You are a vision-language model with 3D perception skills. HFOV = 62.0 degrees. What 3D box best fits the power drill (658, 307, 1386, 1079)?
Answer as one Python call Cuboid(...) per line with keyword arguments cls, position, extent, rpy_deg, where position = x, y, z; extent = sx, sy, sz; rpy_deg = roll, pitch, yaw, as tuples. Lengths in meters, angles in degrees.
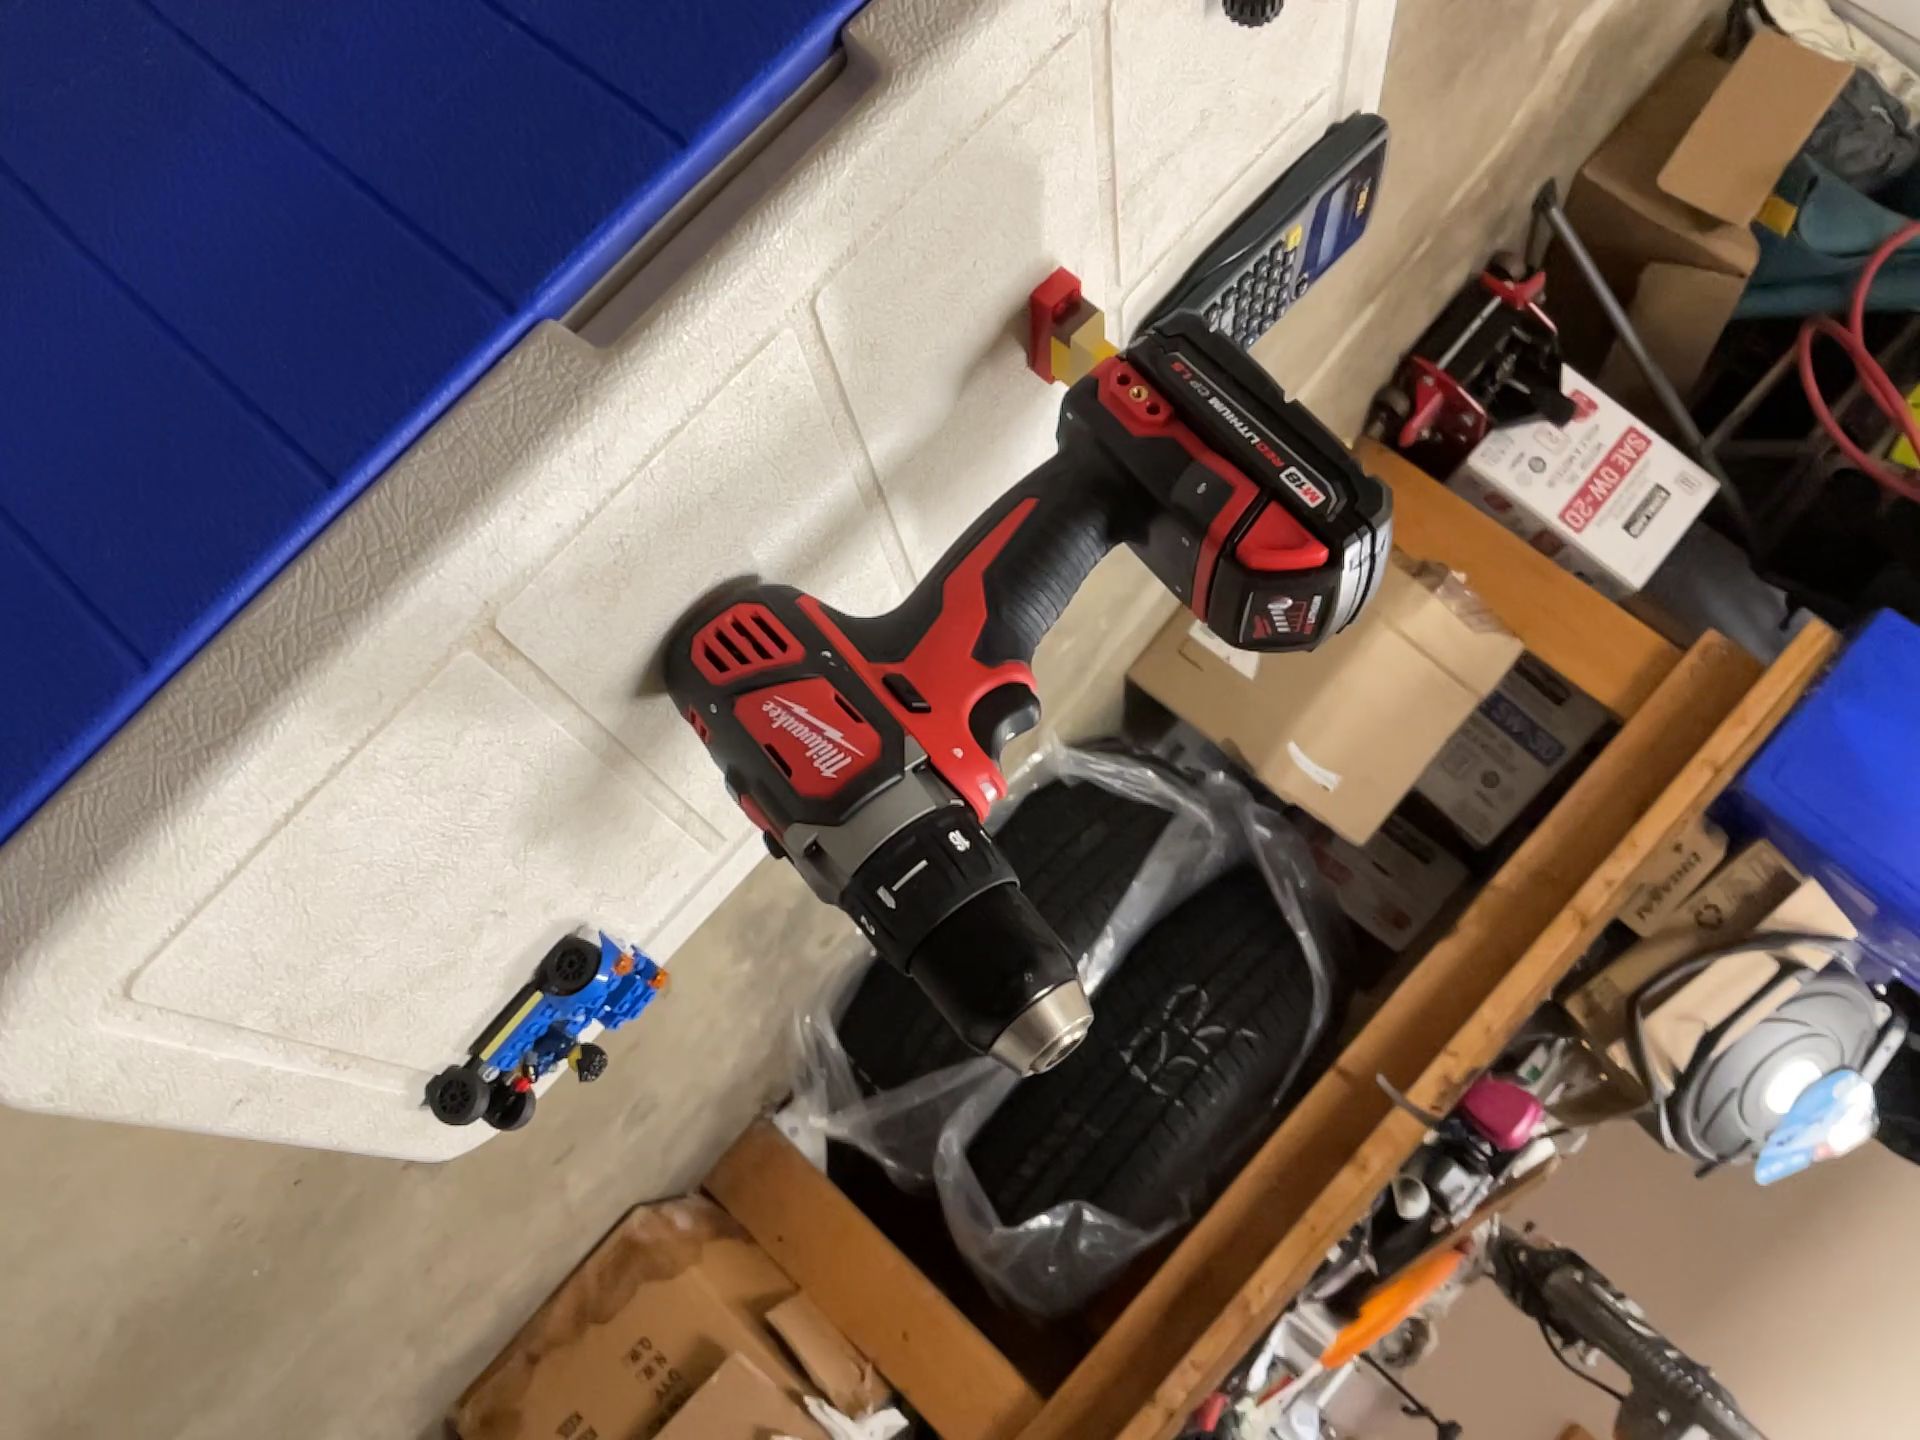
Cuboid(cls="power drill", position=(0.035, -0.012, 0.532), extent=(0.227, 0.188, 0.080), rpy_deg=(-36, 159, -12))
